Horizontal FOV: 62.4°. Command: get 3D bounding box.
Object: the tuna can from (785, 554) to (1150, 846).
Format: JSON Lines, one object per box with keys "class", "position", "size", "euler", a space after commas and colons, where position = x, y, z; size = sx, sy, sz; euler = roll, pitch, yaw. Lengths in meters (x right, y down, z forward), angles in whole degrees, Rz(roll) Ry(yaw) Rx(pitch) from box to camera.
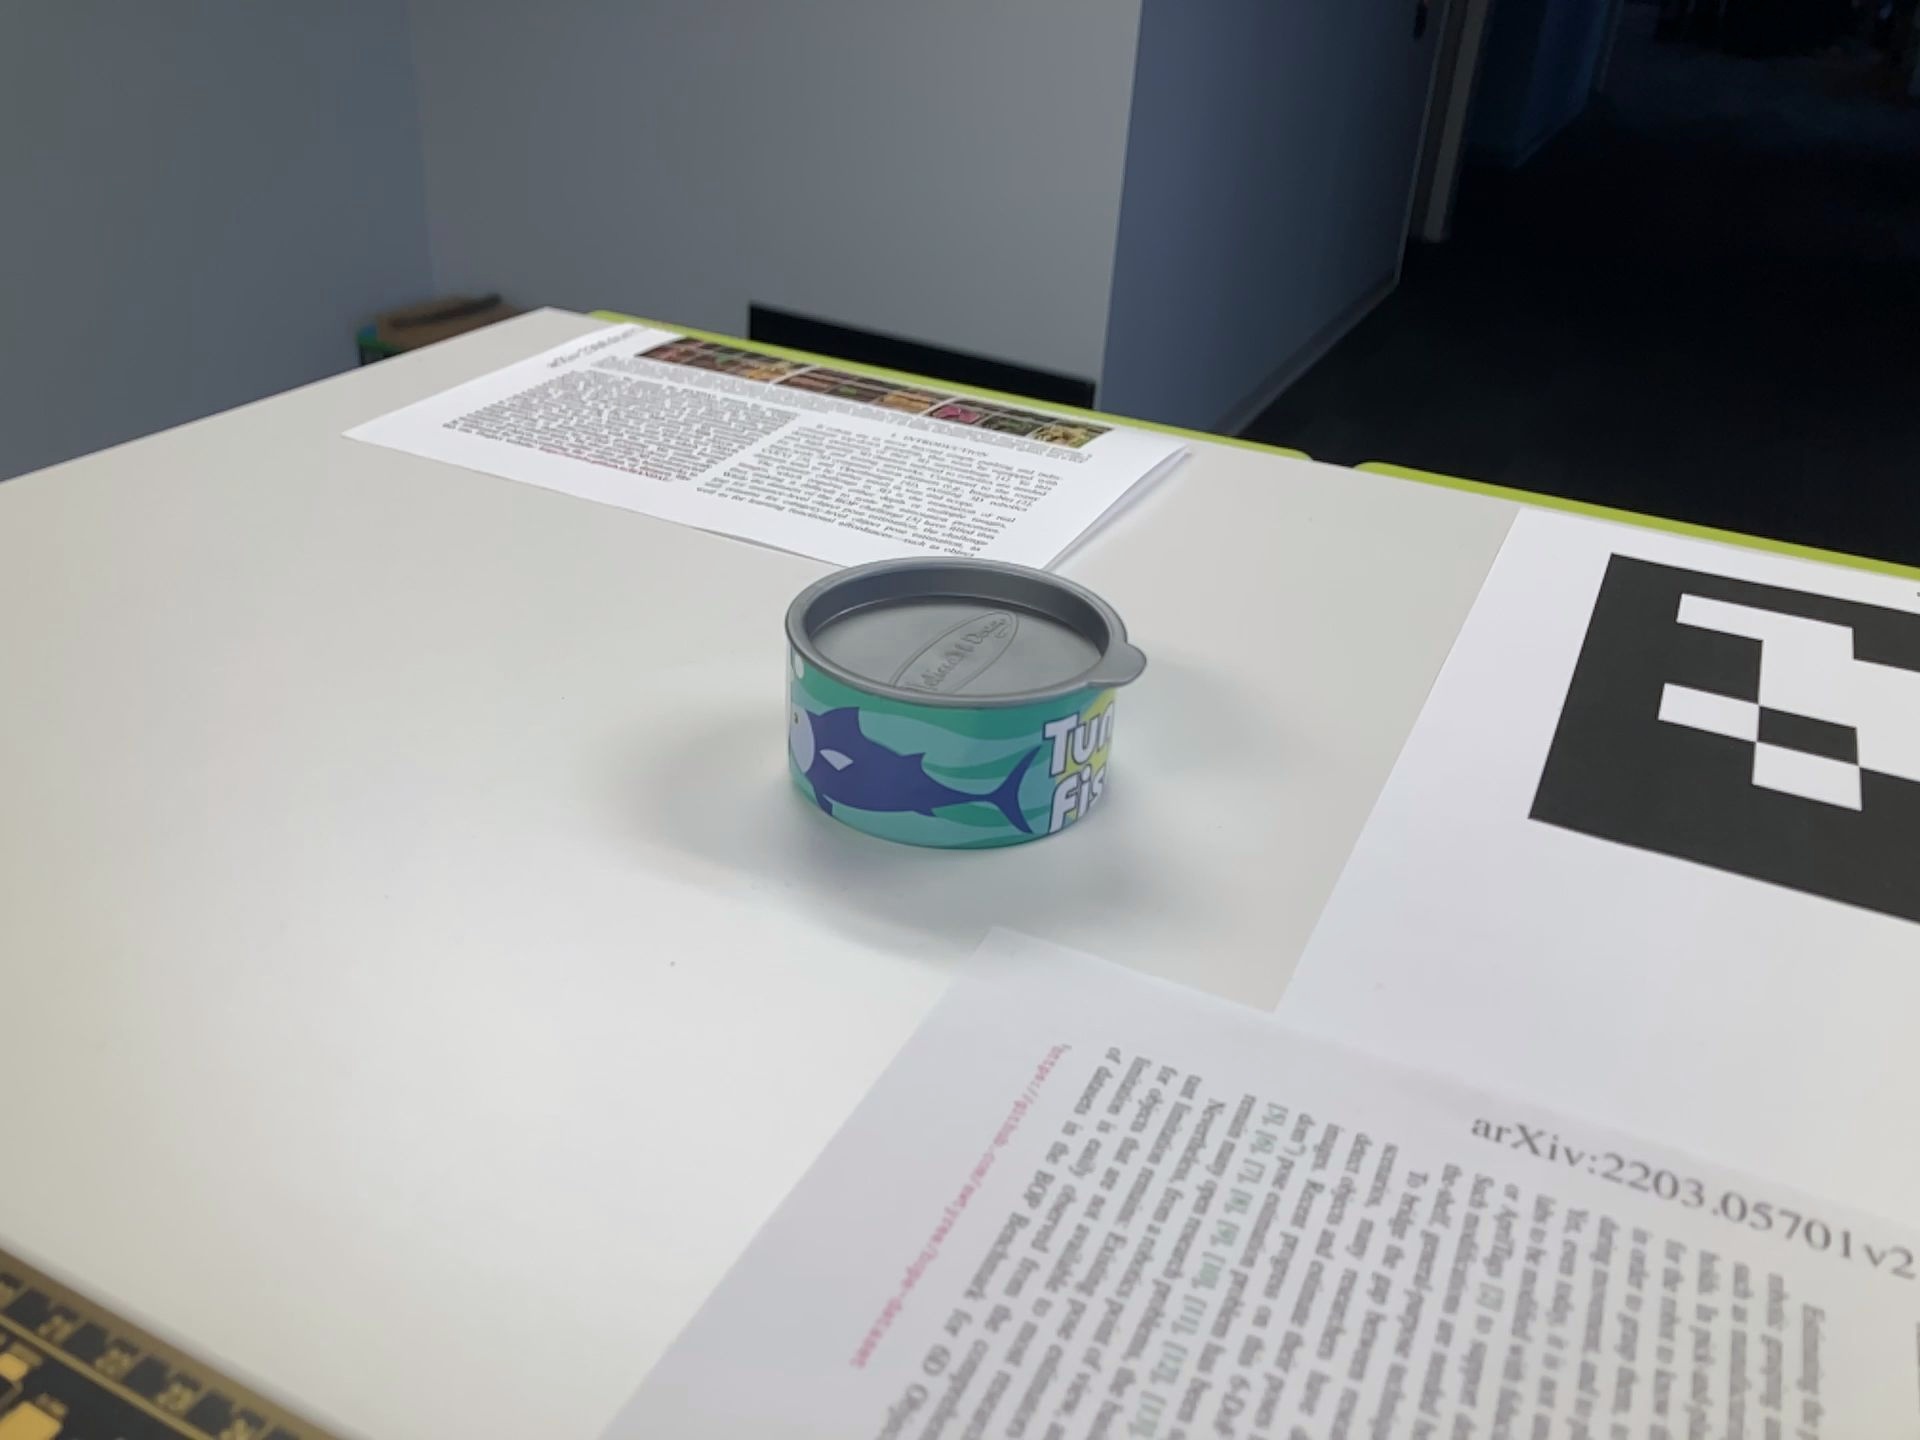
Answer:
{"class": "tuna can", "position": [0.001, -0.005, 0.311], "size": [0.071, 0.033, 0.071], "euler": [3, 28, -2]}
